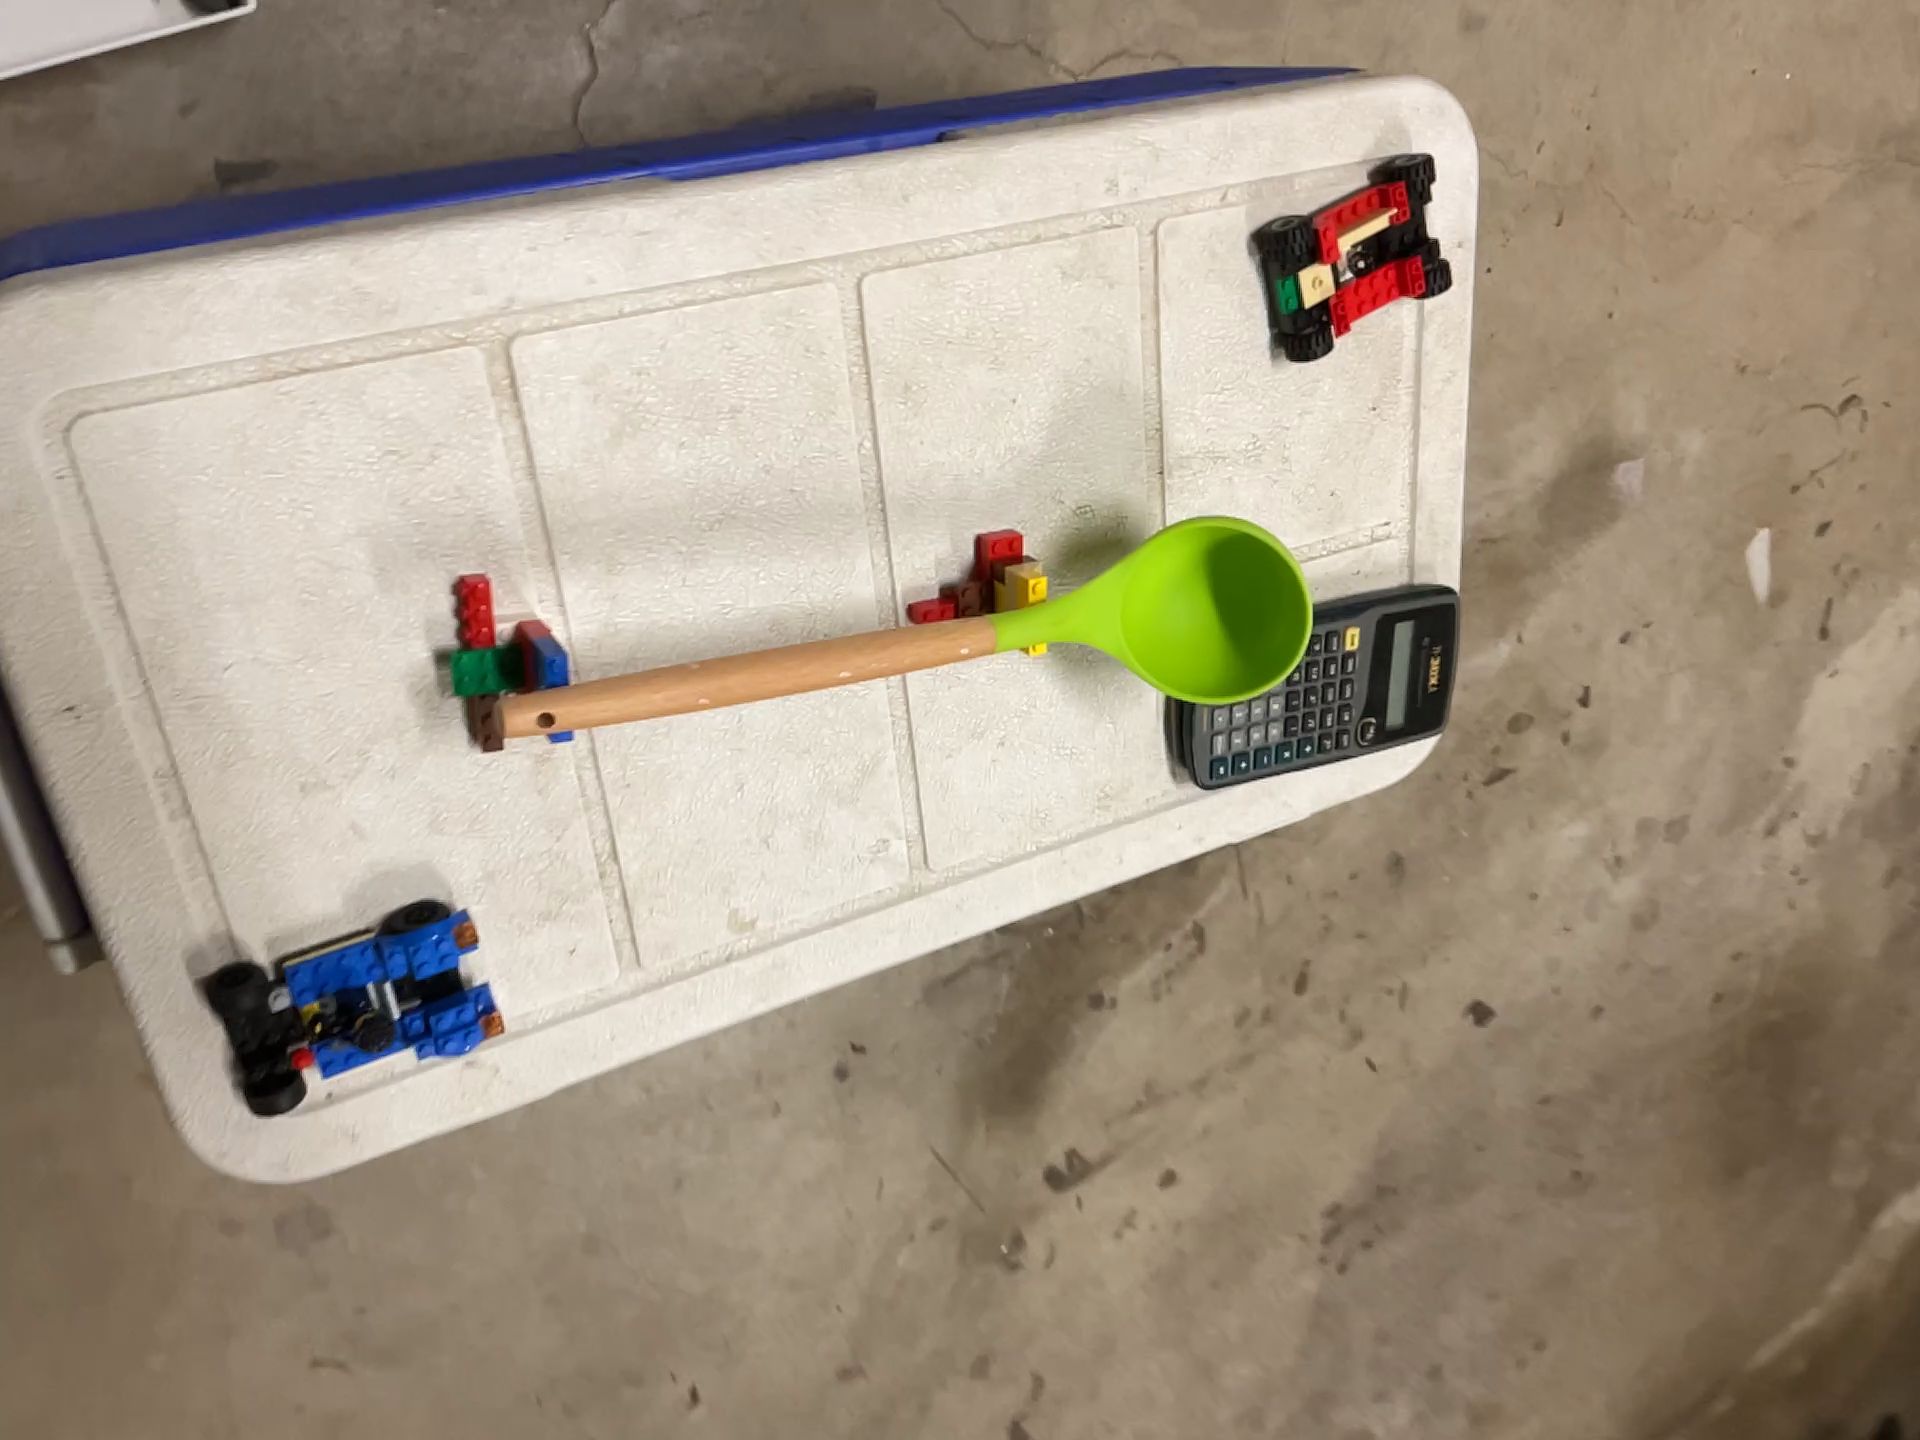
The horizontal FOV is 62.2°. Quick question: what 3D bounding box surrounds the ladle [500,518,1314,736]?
[{"bbox_3d":[-0.006,-0.024,0.591,0.320,0.062,0.078,-11,115,-27],"label":"ladle"}]
